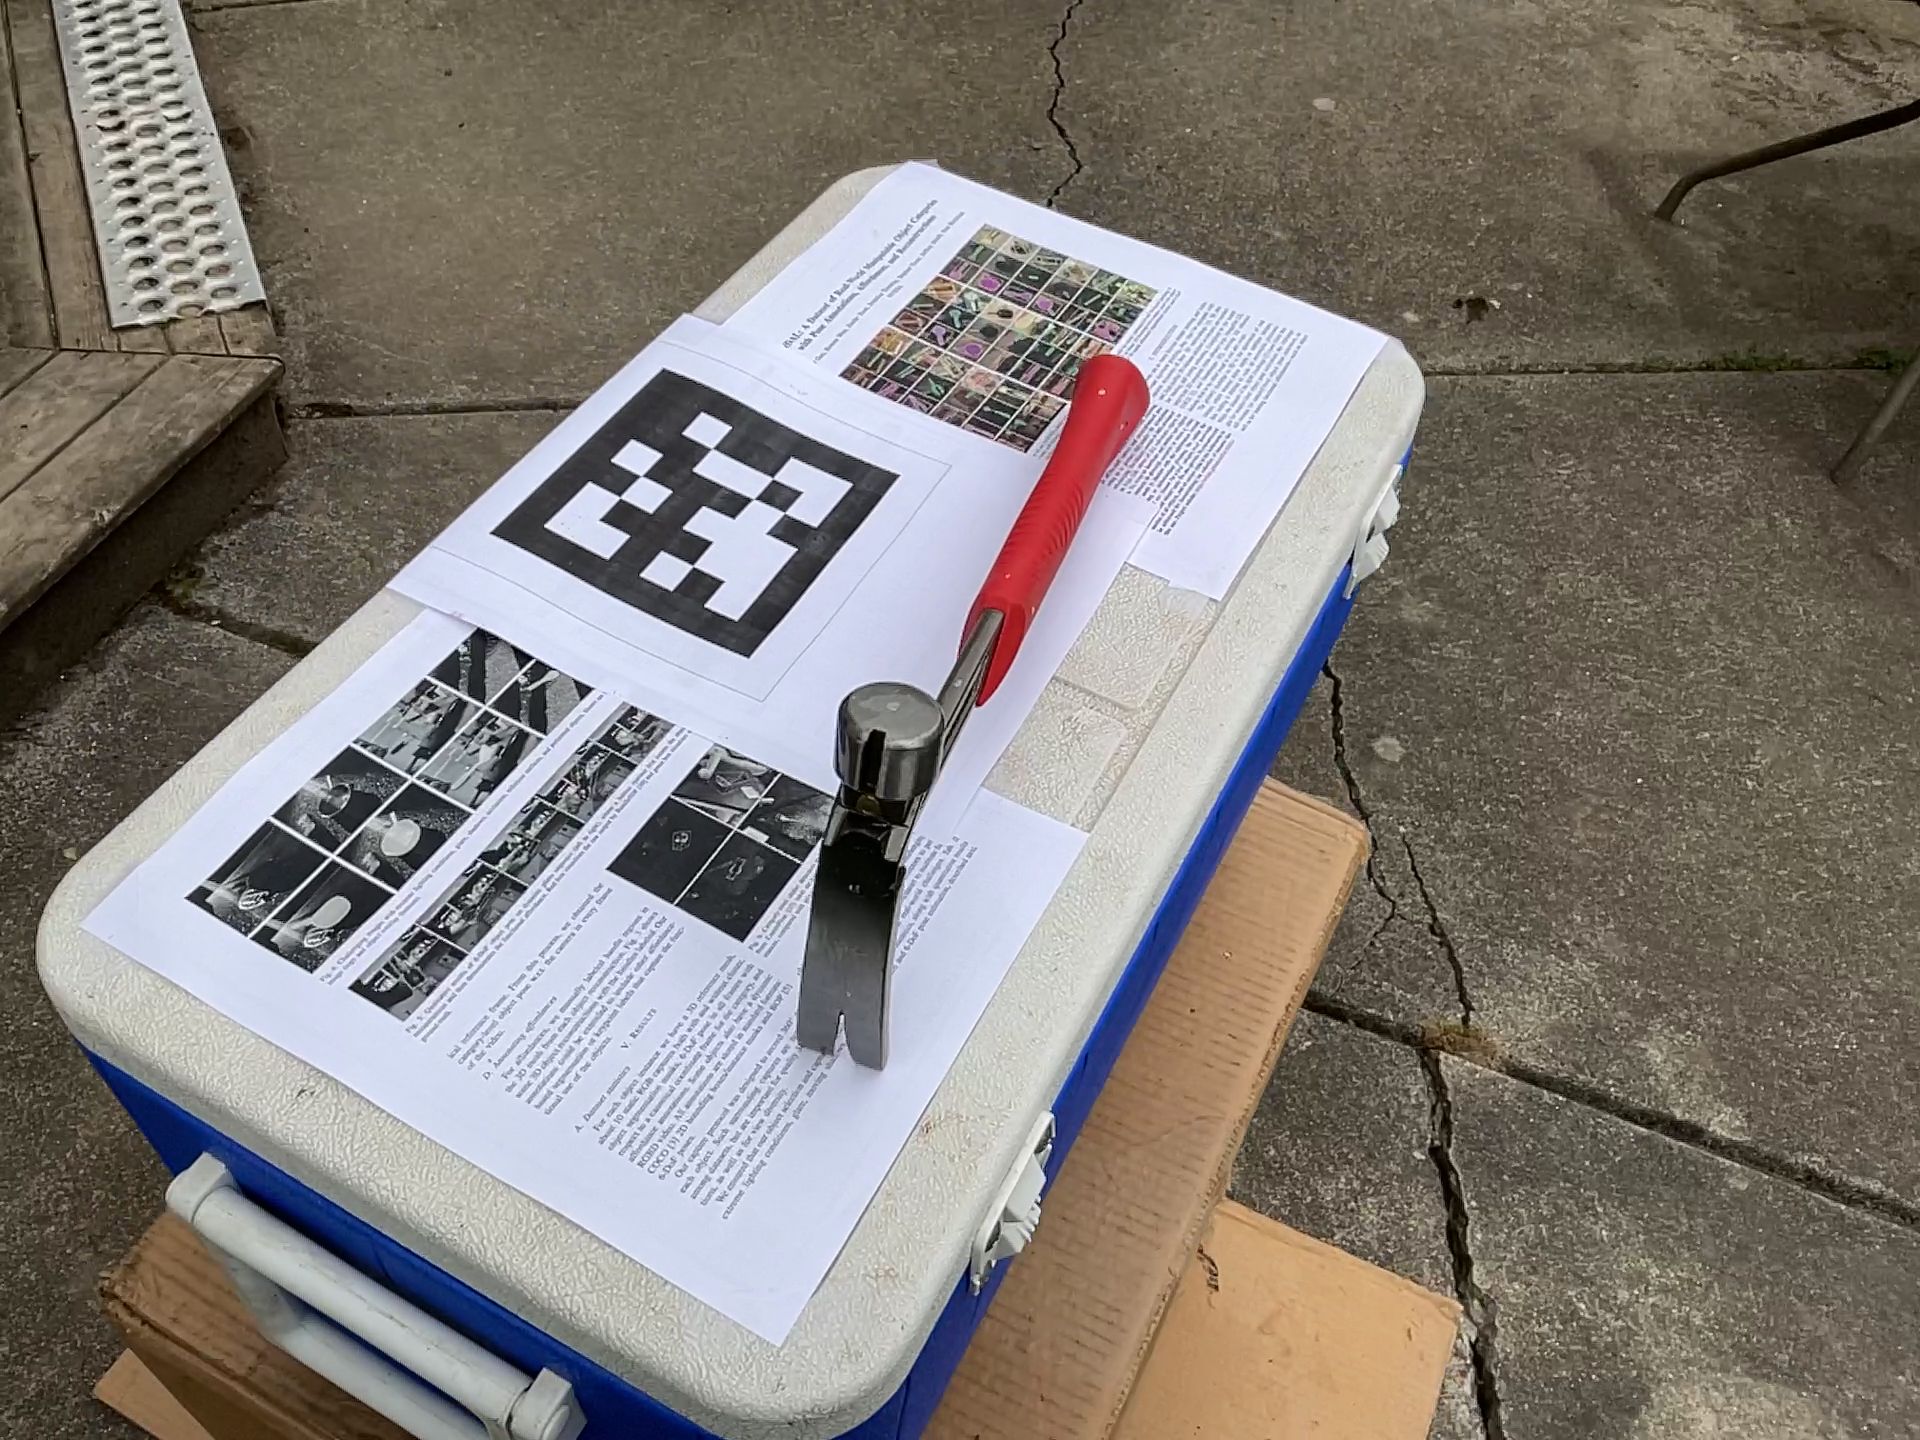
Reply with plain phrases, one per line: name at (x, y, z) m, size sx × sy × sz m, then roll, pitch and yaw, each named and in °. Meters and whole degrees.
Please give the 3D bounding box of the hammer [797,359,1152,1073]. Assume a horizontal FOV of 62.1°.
hammer at (0.018, -0.038, 0.619) m, size 0.036 × 0.149 × 0.359 m, roll 16°, pitch 39°, yaw 9°
